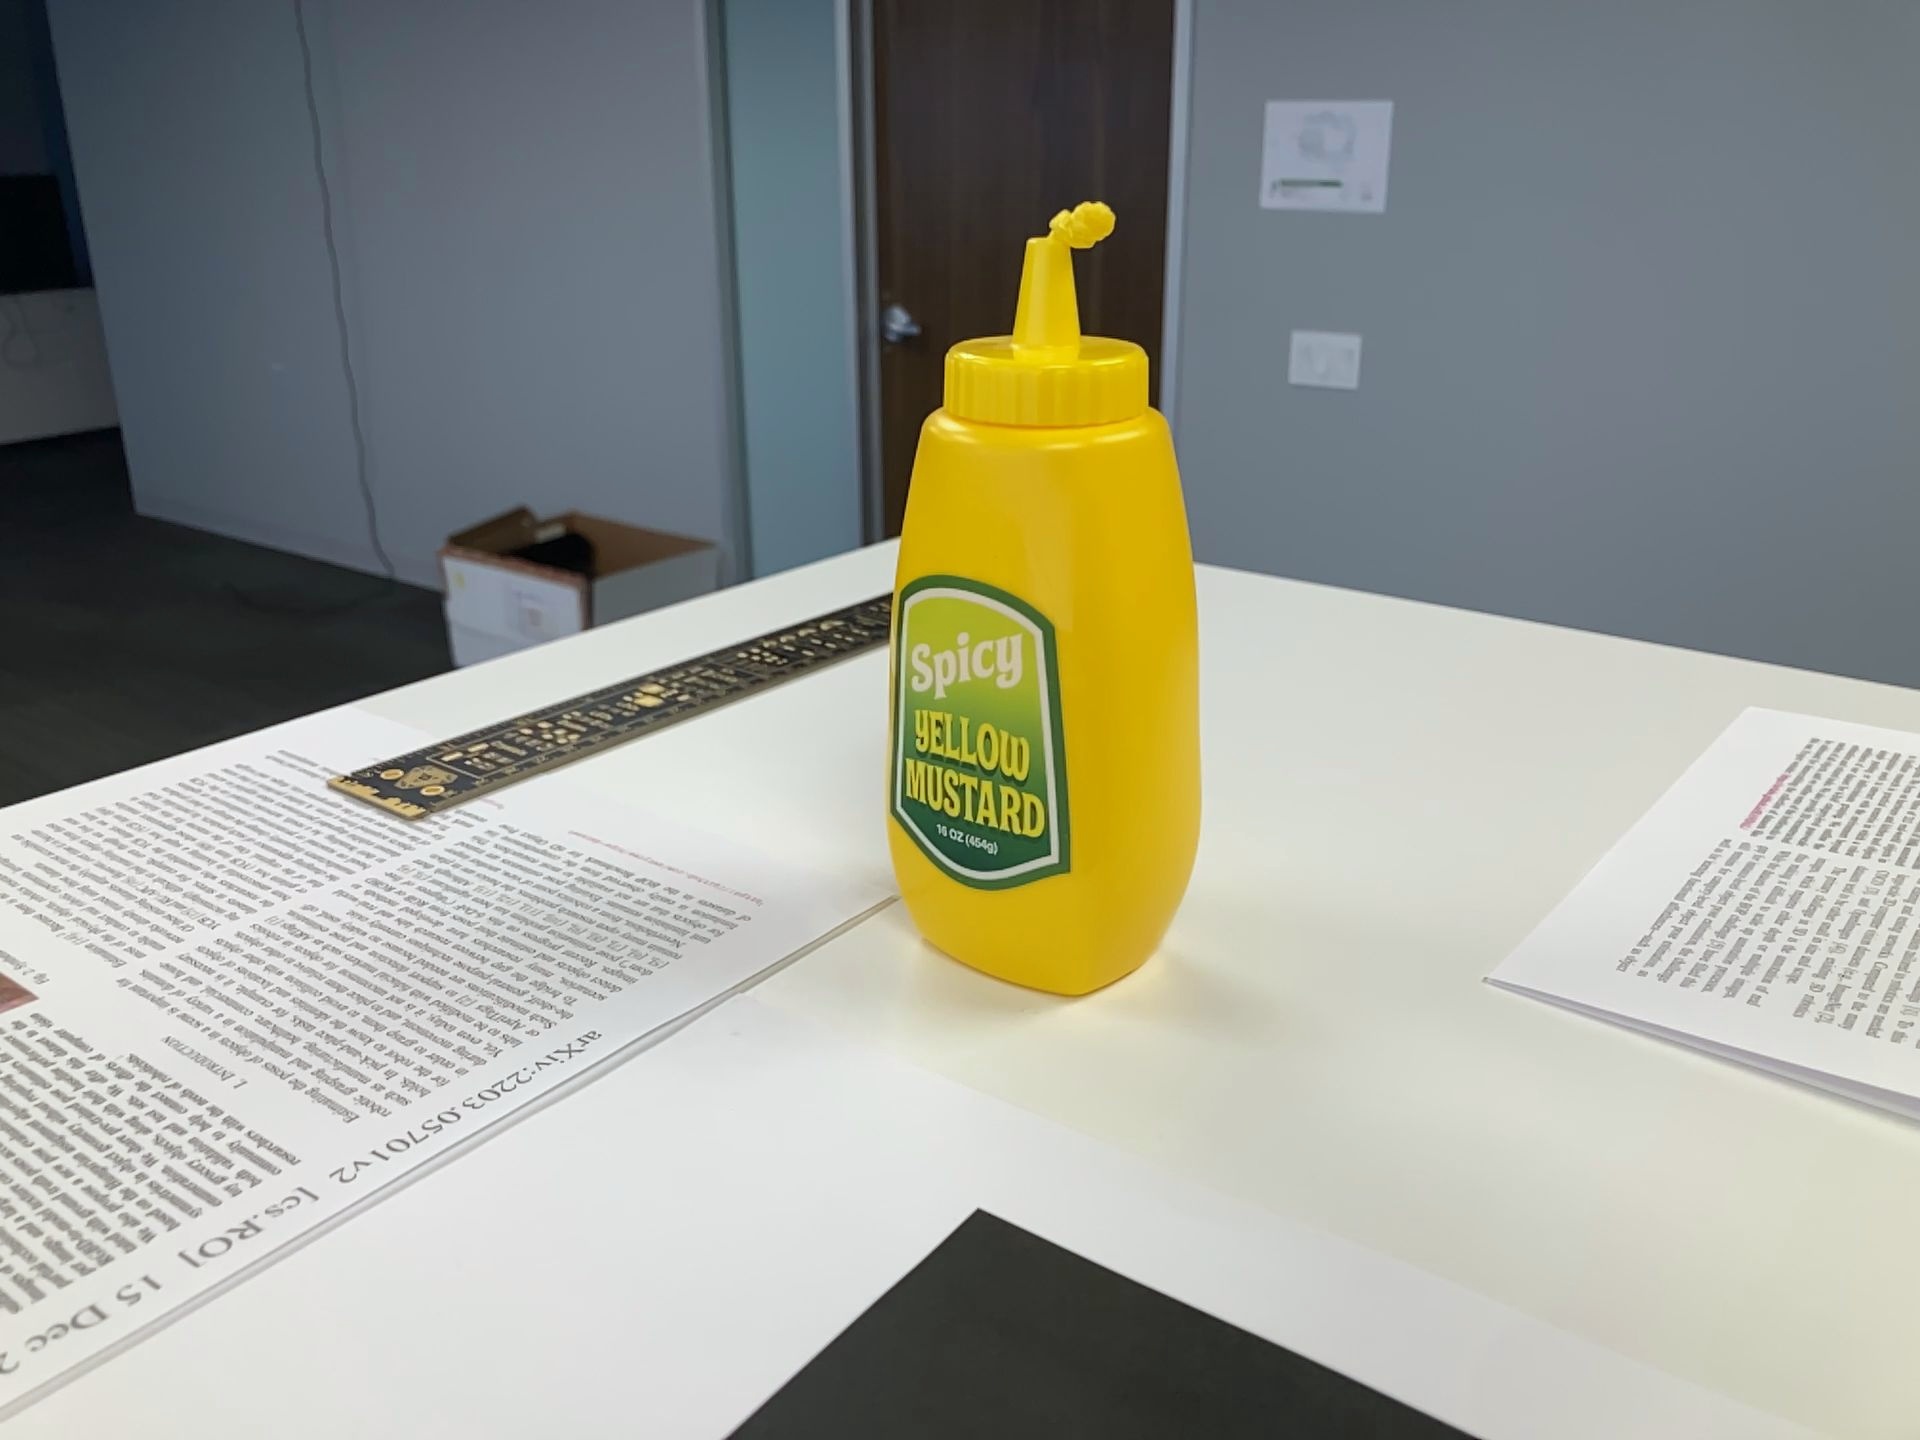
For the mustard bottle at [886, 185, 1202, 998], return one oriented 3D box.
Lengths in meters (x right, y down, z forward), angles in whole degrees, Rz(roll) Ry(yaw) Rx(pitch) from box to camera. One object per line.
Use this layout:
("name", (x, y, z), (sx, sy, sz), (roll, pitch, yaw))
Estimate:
("mustard bottle", (0.016, -0.025, 0.324), (0.065, 0.160, 0.049), (15, 26, 38))
